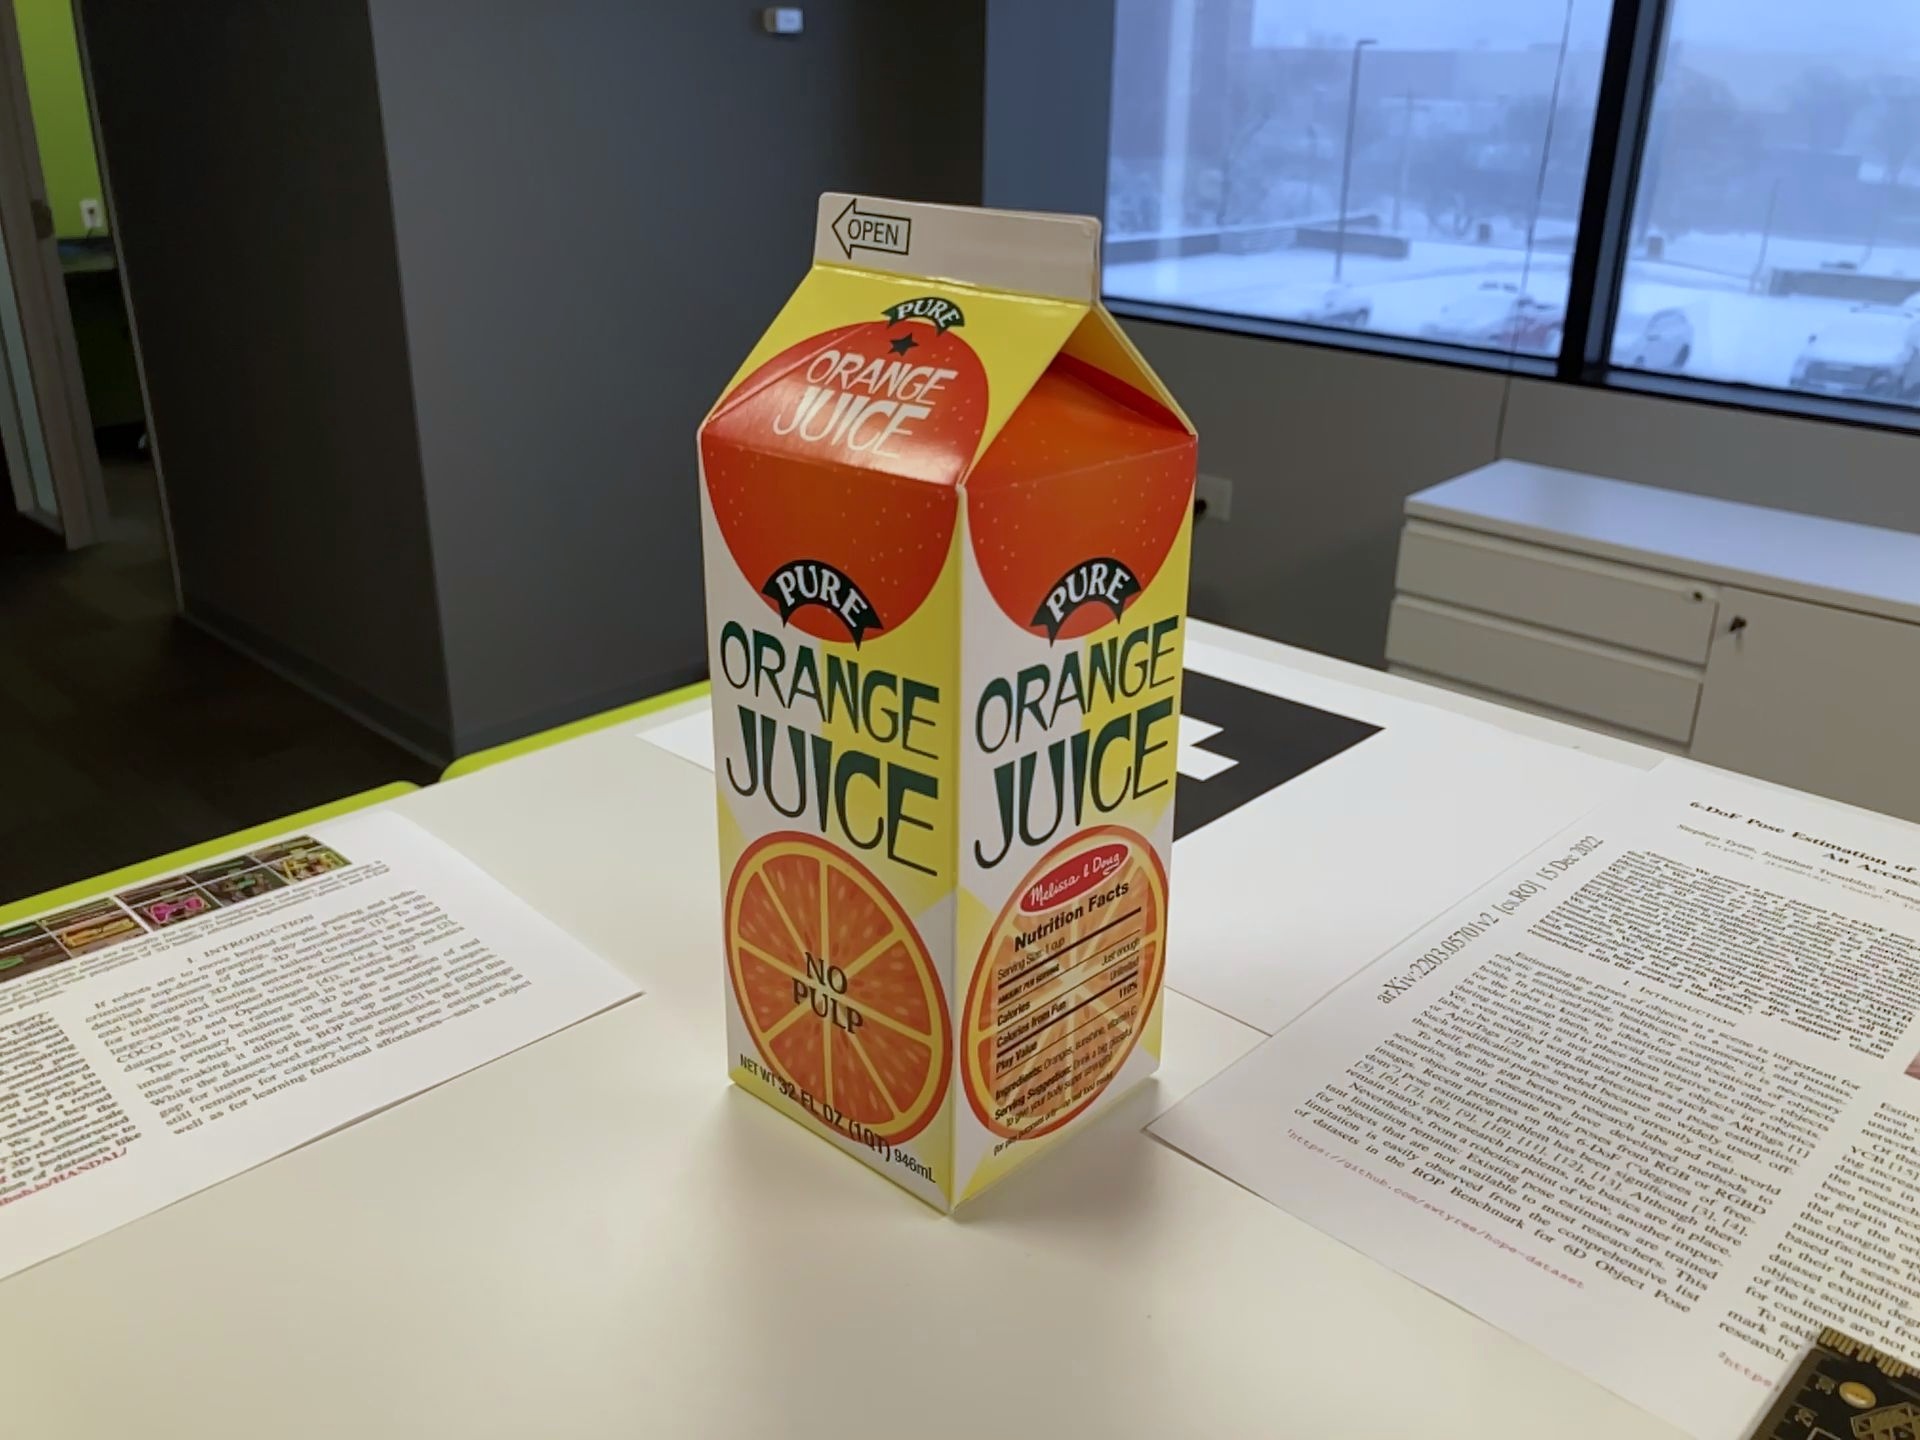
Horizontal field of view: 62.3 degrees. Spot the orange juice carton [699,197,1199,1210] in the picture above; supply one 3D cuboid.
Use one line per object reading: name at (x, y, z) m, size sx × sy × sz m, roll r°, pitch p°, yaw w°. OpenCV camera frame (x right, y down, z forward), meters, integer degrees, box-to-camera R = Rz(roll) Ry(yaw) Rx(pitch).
orange juice carton at (-0.003, -0.007, 0.333) m, size 0.072 × 0.192 × 0.073 m, roll 18°, pitch 27°, yaw 40°
